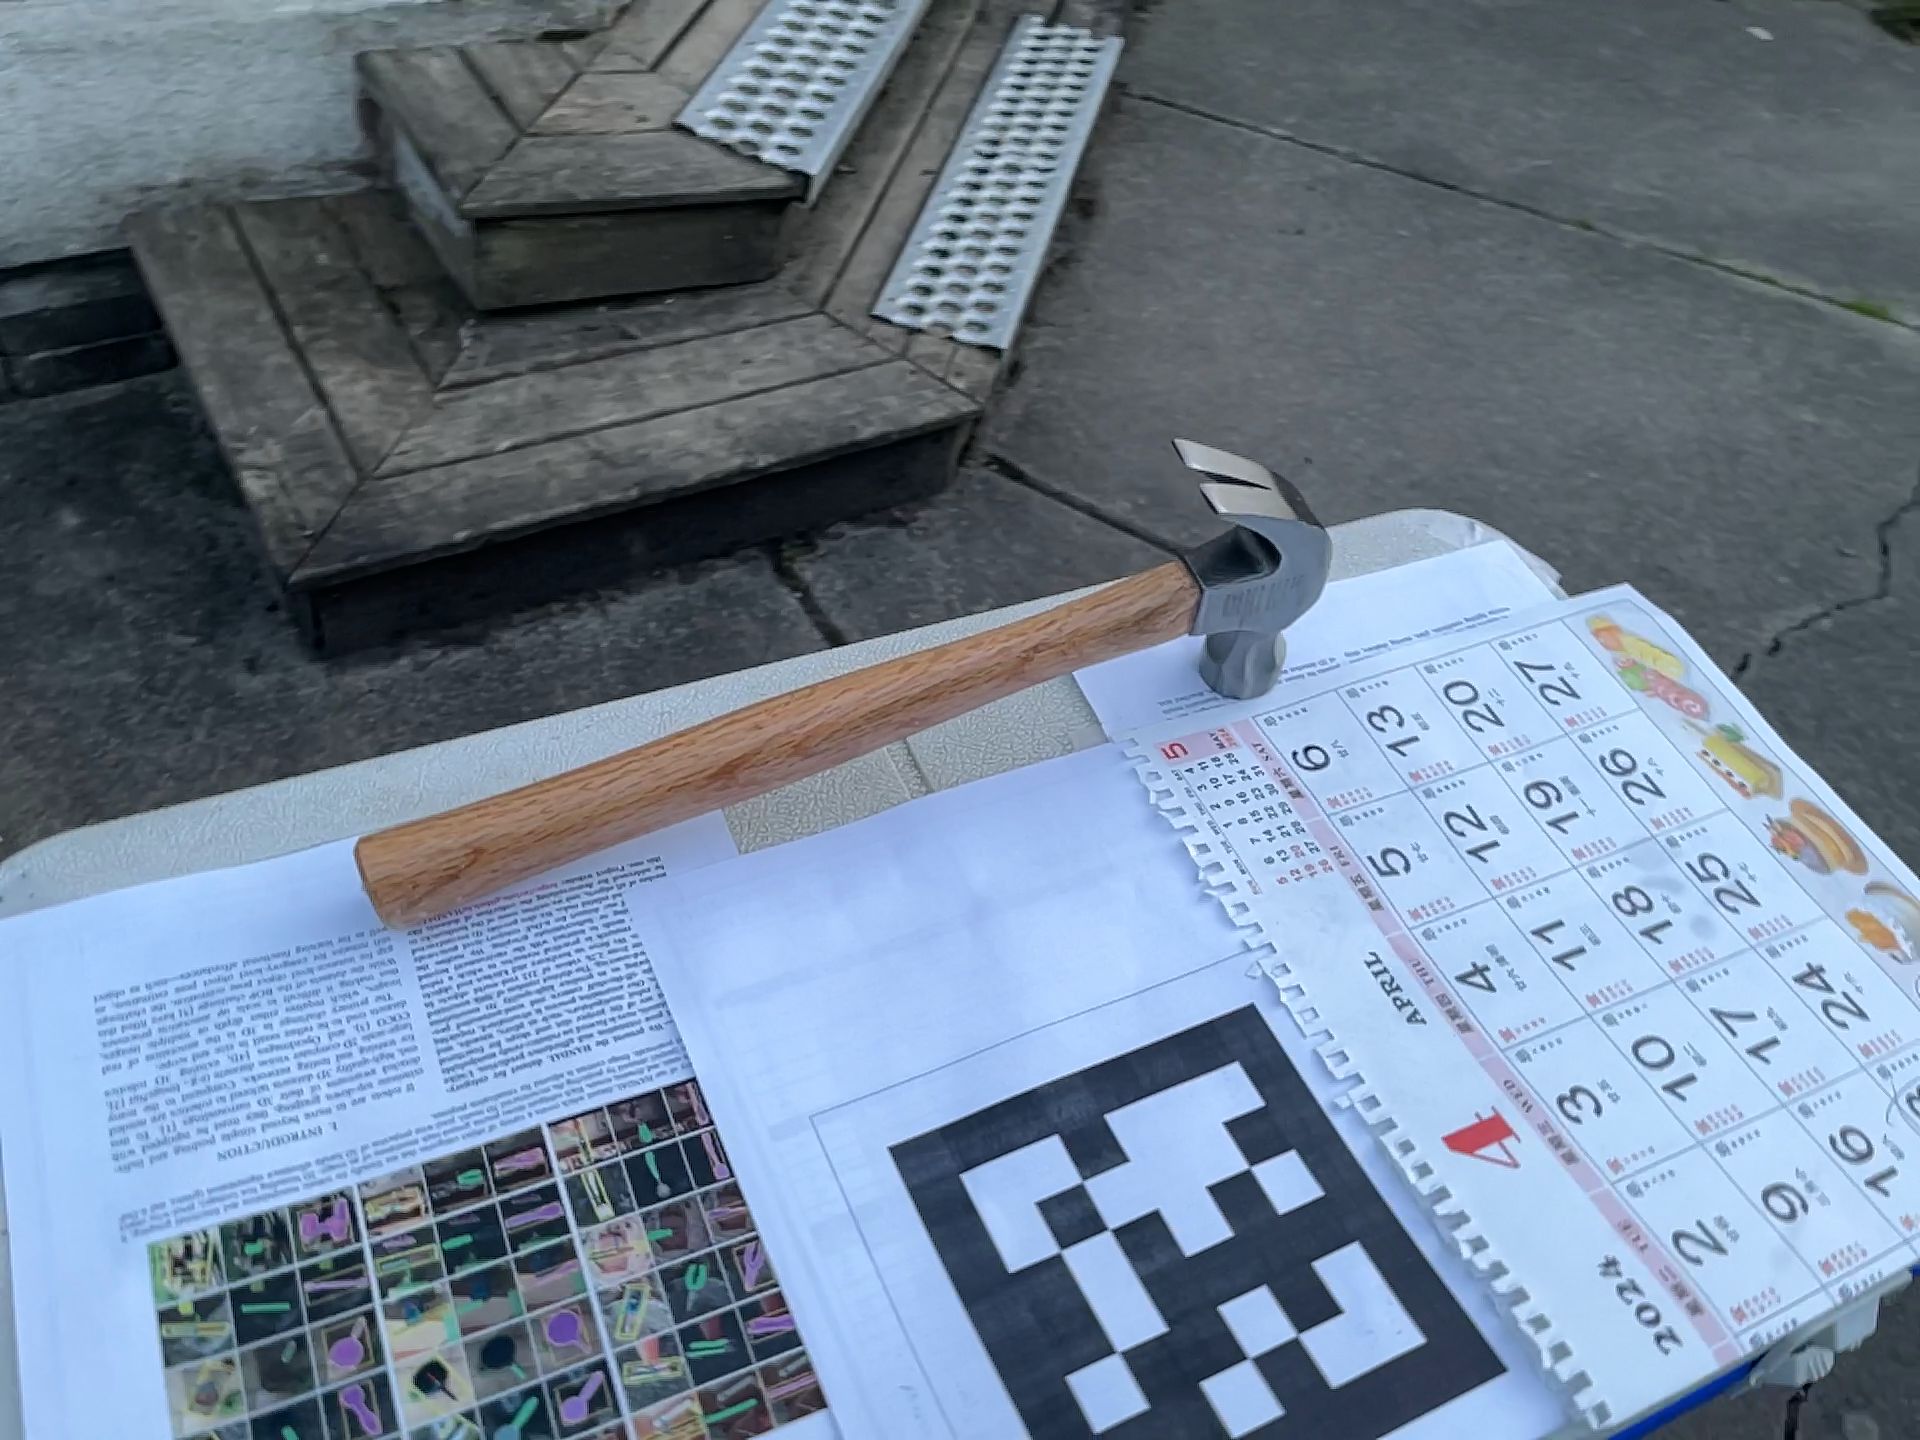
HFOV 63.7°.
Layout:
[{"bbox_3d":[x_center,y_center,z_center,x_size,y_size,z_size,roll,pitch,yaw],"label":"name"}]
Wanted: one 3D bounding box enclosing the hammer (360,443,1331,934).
[{"bbox_3d":[-0.026,-0.005,0.504,0.331,0.130,0.031,-20,61,-15],"label":"hammer"}]
